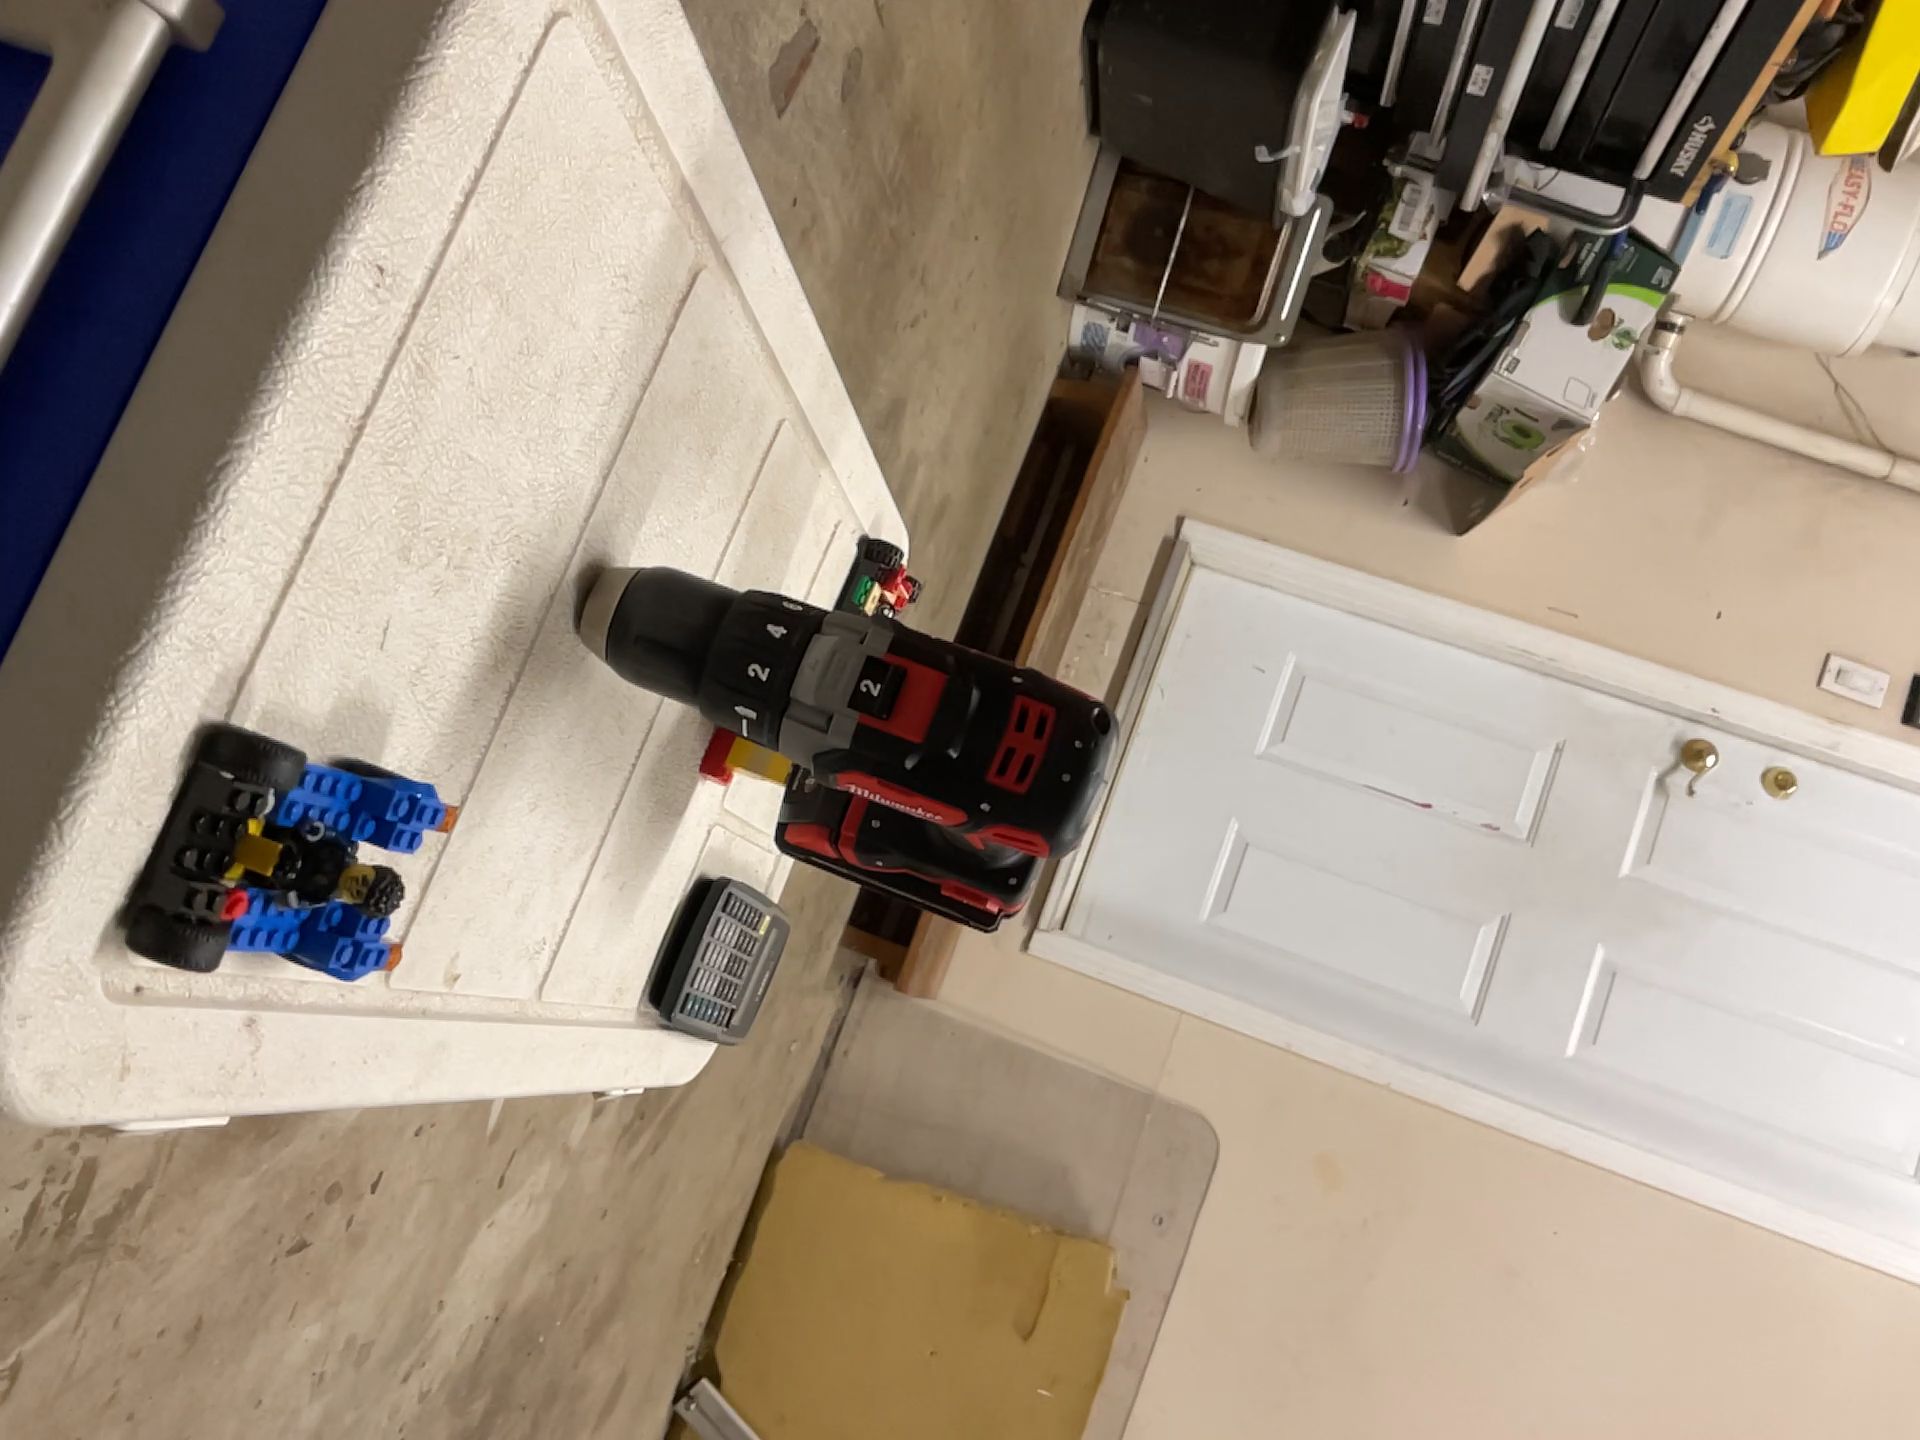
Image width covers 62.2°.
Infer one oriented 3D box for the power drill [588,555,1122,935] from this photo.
[{"bbox_3d":[-0.039,0.009,0.623,0.226,0.188,0.080,91,22,-76],"label":"power drill"}]
